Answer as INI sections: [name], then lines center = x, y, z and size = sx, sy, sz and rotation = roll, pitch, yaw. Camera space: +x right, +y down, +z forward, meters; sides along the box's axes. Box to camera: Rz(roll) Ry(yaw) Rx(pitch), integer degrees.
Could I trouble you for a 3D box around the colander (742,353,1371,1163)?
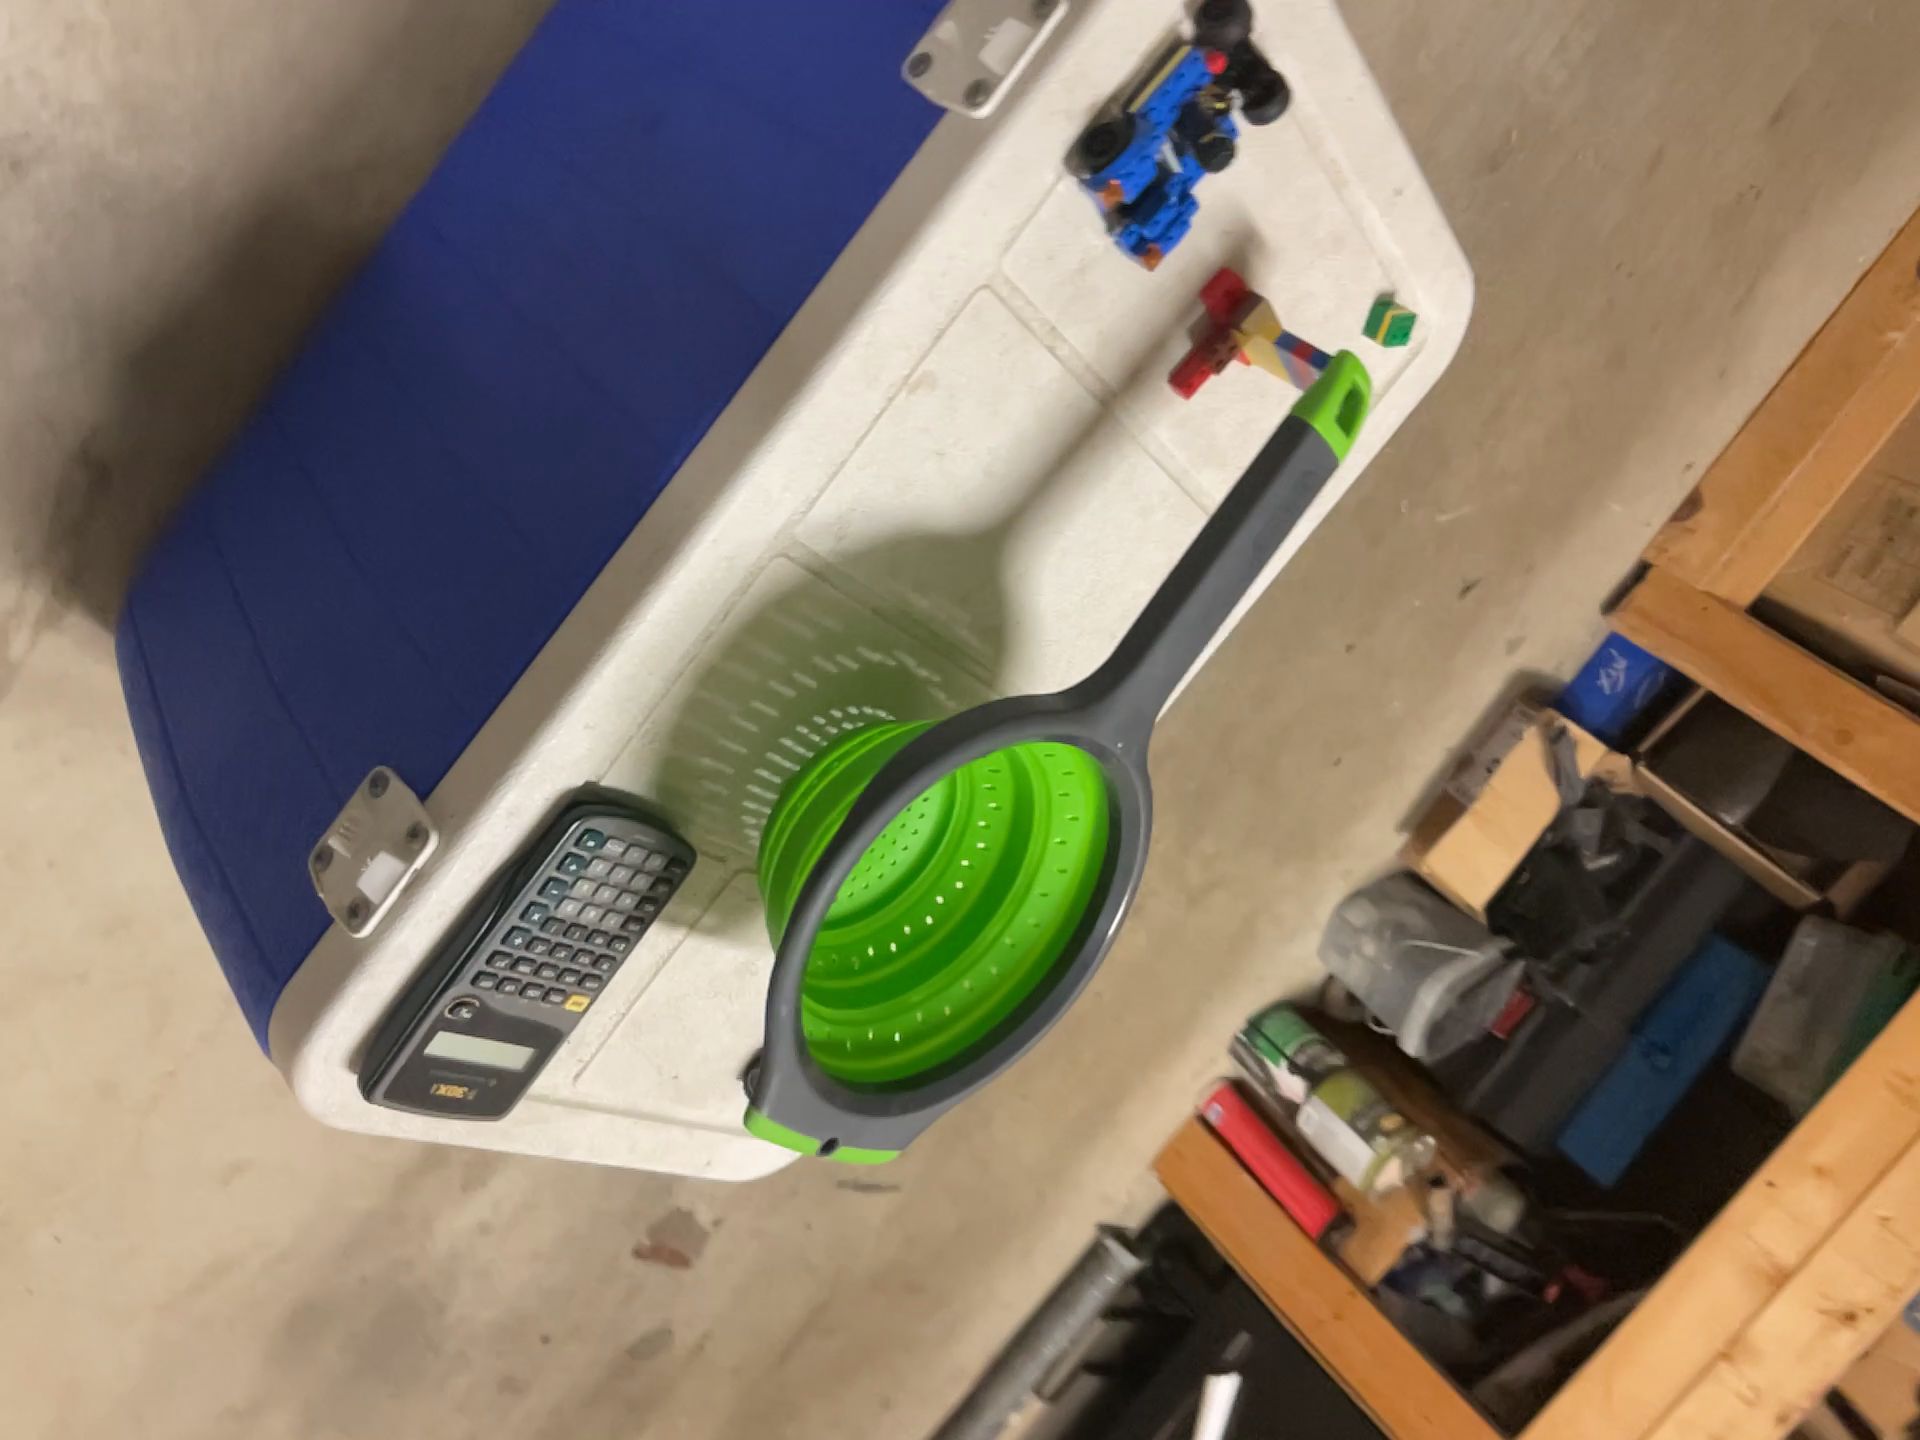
[colander]
center = 0.029, 0.000, 0.687
size = 0.397, 0.095, 0.204
rotation = -54, 140, 1
